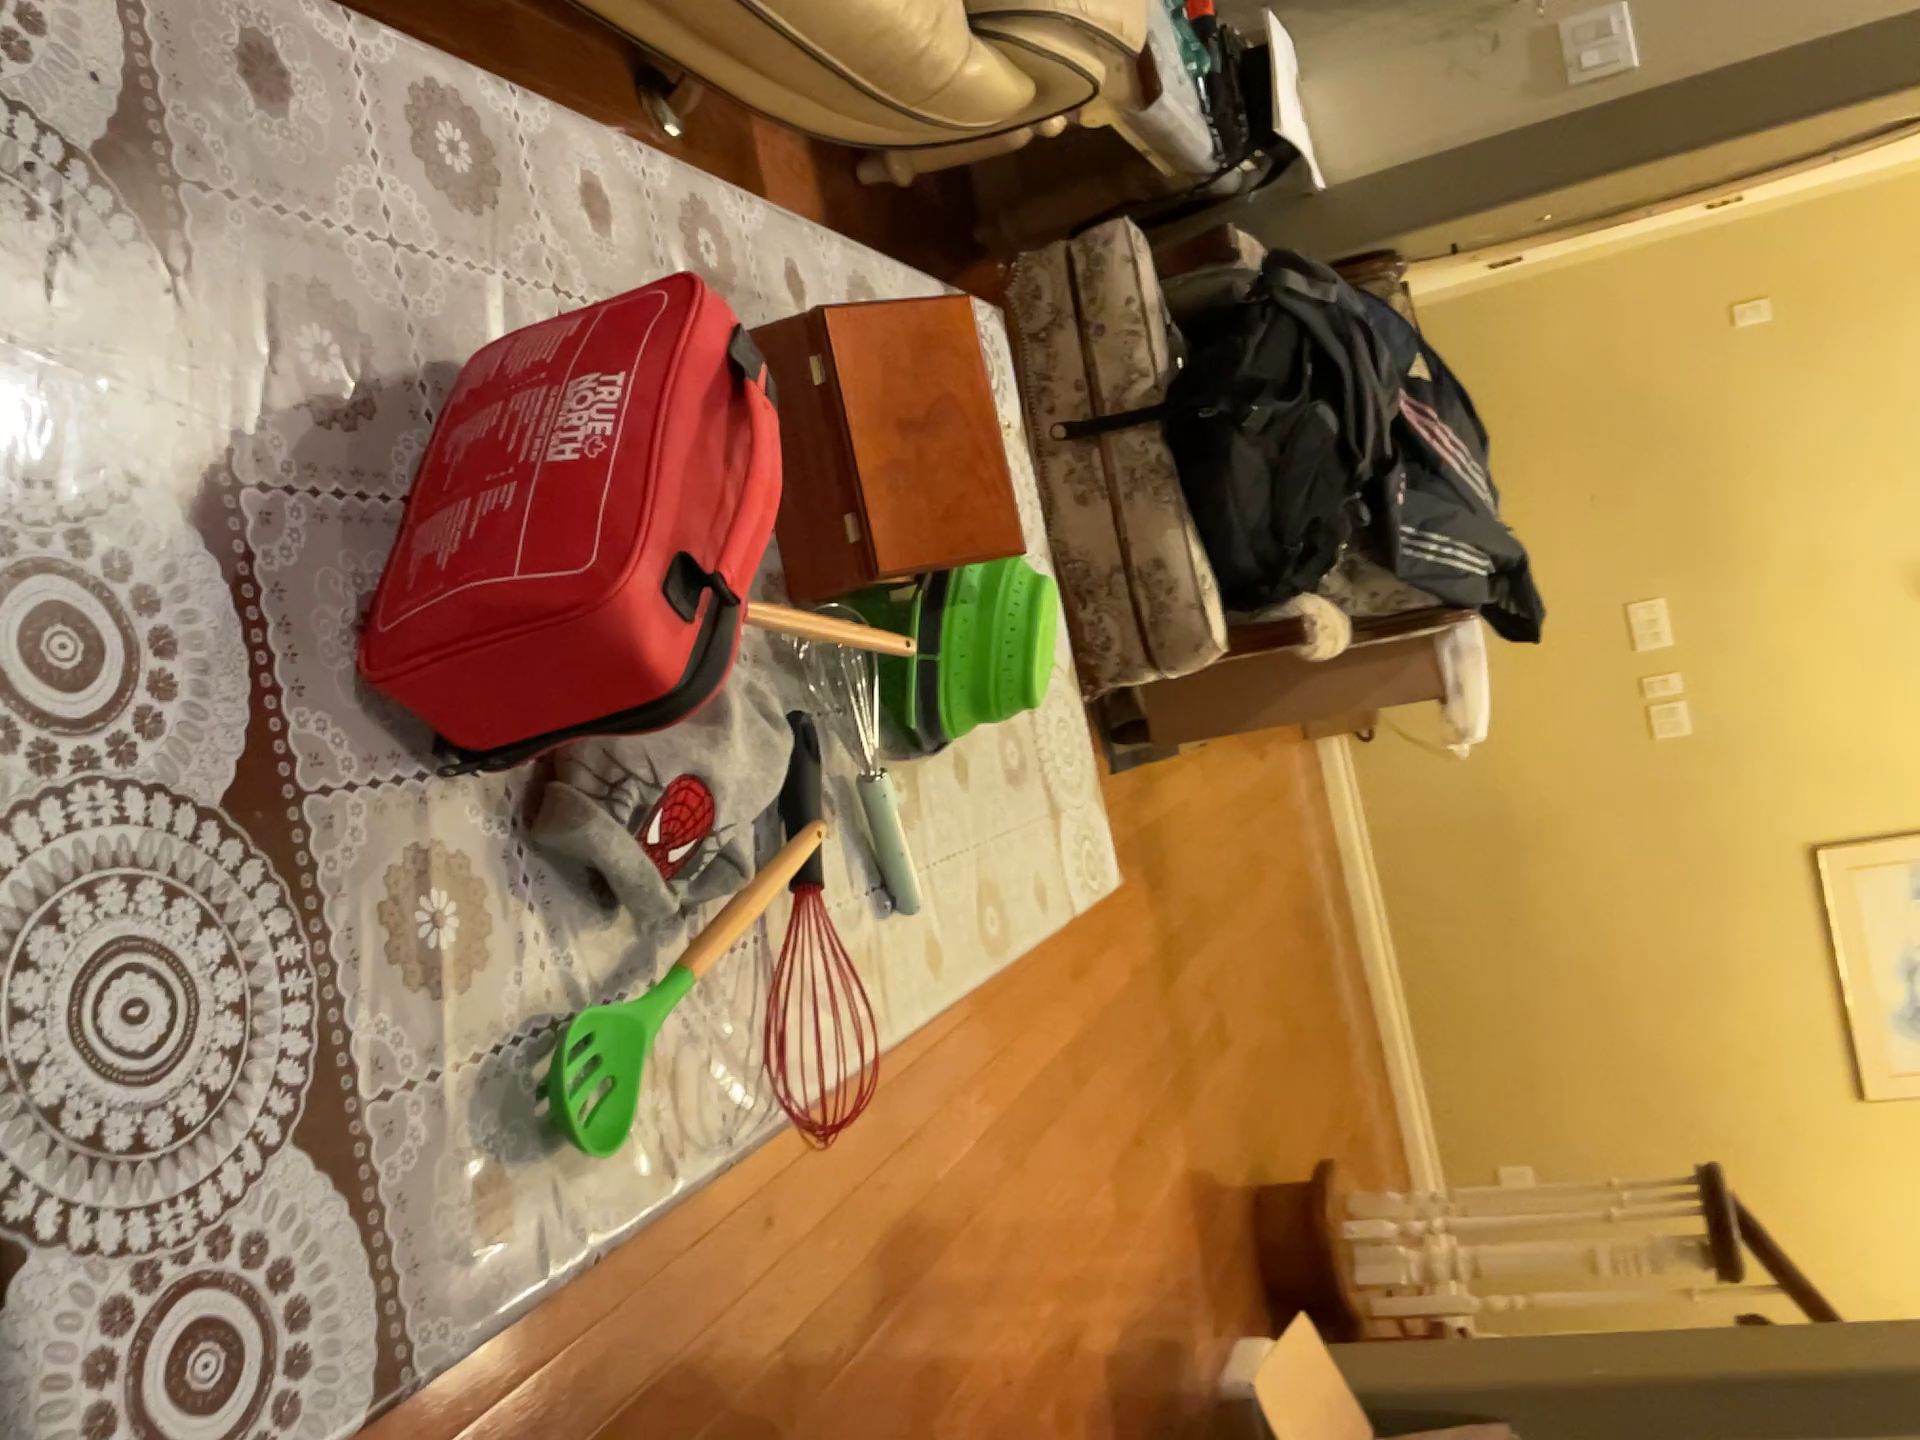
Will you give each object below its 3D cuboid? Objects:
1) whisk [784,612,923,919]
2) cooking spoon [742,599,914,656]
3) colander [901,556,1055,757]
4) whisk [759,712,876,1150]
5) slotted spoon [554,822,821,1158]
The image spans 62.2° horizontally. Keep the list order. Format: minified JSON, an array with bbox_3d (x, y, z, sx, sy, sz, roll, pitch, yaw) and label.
[{"bbox_3d":[-0.071,0.036,1.147,0.058,0.059,0.246,-26,111,-25],"label":"whisk"},{"bbox_3d":[-0.125,-0.066,1.012,0.318,0.017,0.069,9,72,-56],"label":"cooking spoon"},{"bbox_3d":[0.039,-0.087,1.353,0.397,0.094,0.204,-52,147,-72],"label":"colander"},{"bbox_3d":[-0.096,0.125,1.012,0.073,0.073,0.296,35,40,-52],"label":"whisk"},{"bbox_3d":[-0.143,0.133,0.891,0.070,0.031,0.314,71,25,-17],"label":"slotted spoon"}]
